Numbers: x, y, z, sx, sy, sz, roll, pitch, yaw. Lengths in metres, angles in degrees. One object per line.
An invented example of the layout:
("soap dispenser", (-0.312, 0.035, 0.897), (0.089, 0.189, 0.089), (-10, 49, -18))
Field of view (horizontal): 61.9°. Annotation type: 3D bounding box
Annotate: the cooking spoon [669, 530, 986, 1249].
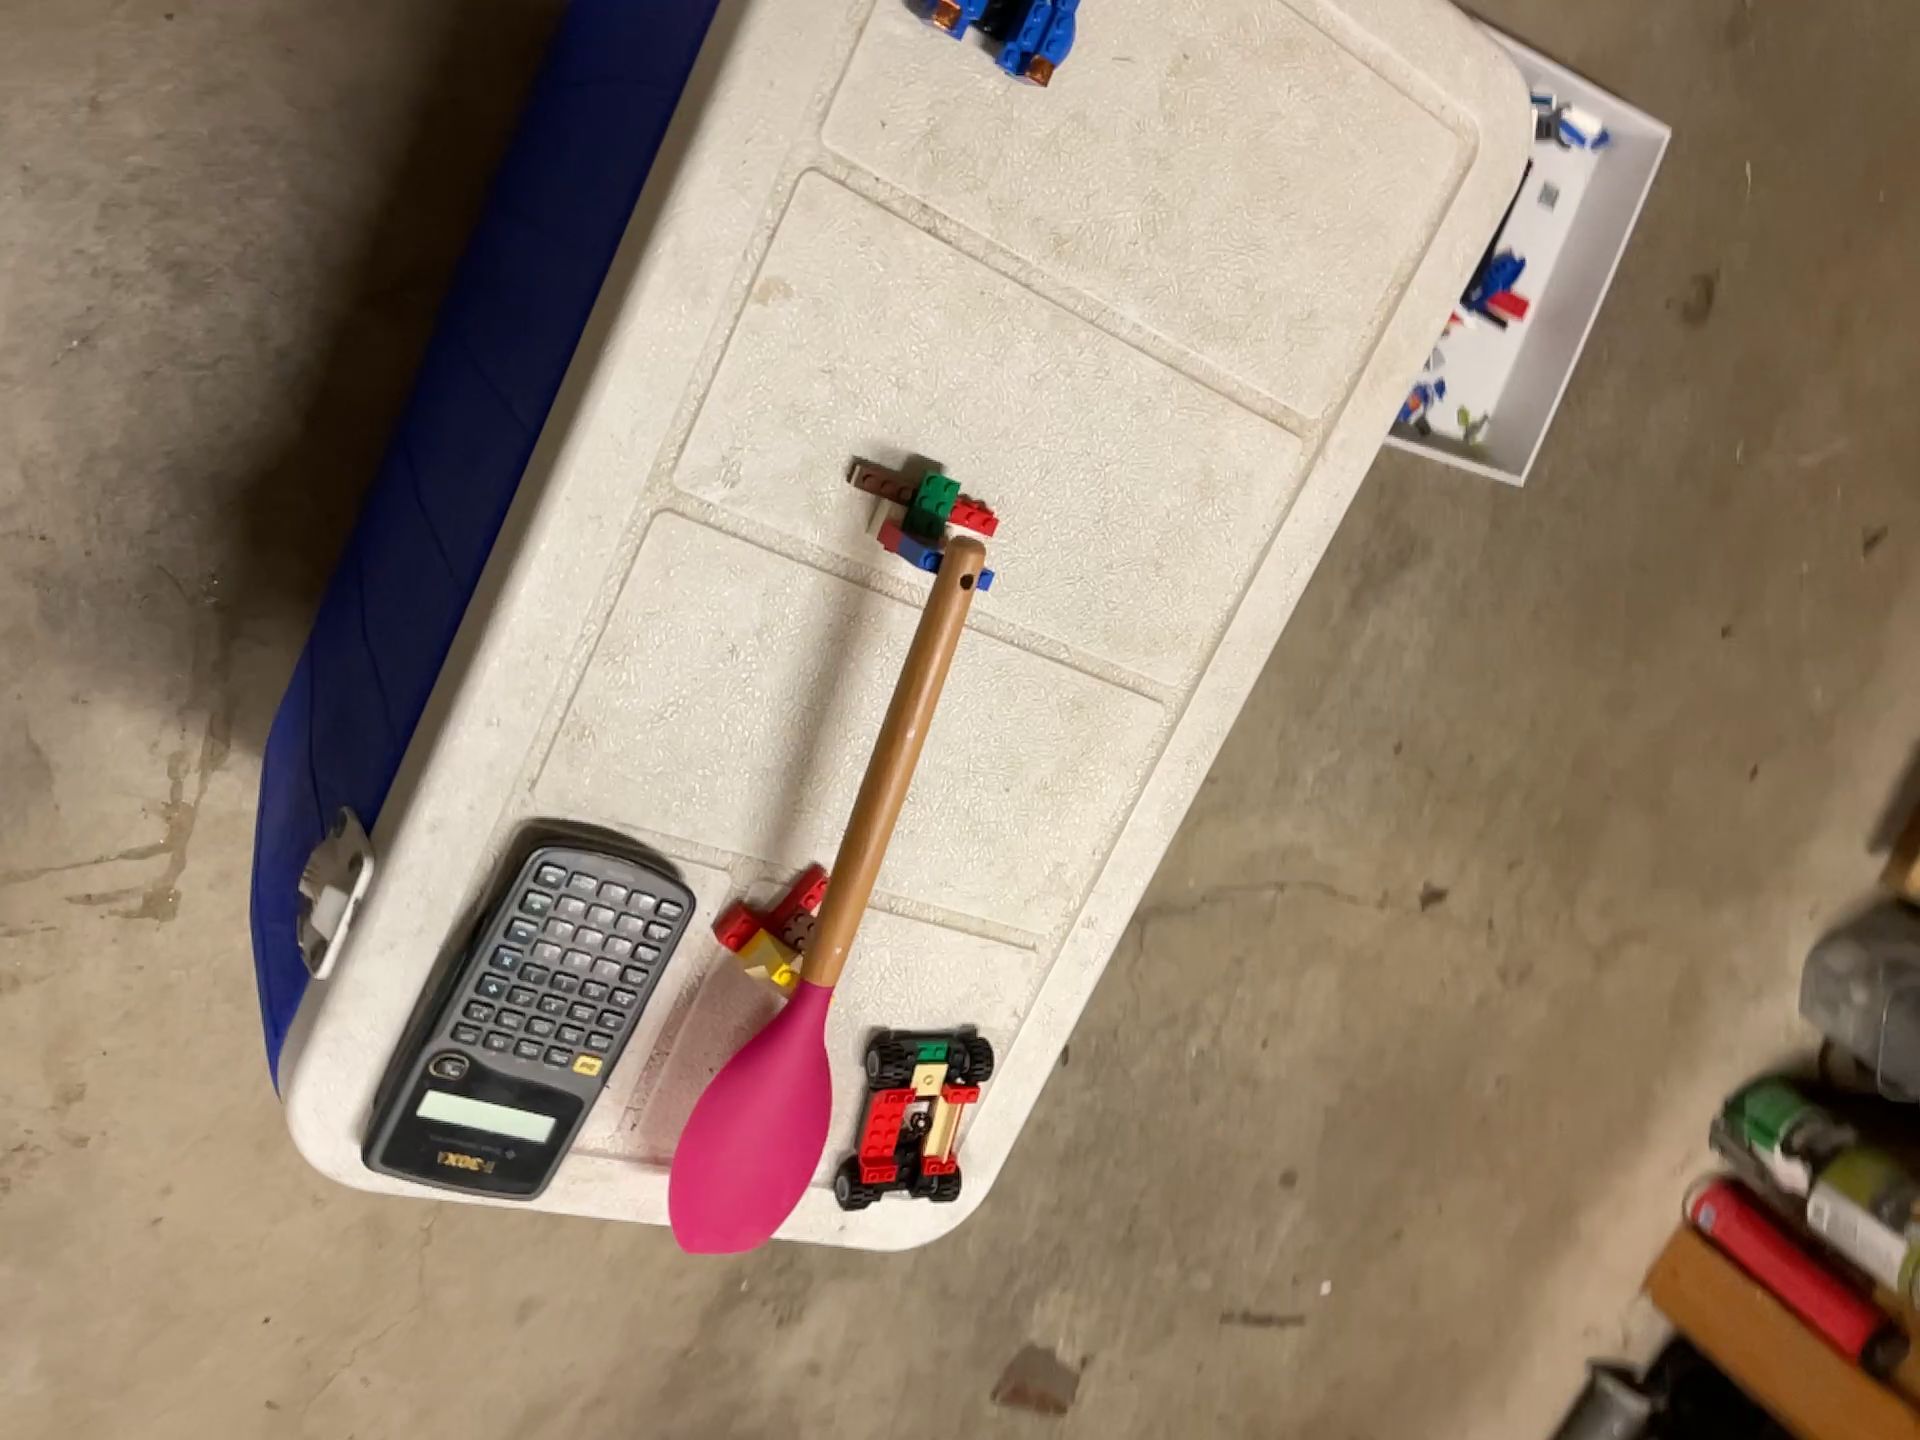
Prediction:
("cooking spoon", (-0.048, 0.077, 0.621), (0.069, 0.017, 0.318), (8, 110, -34))
